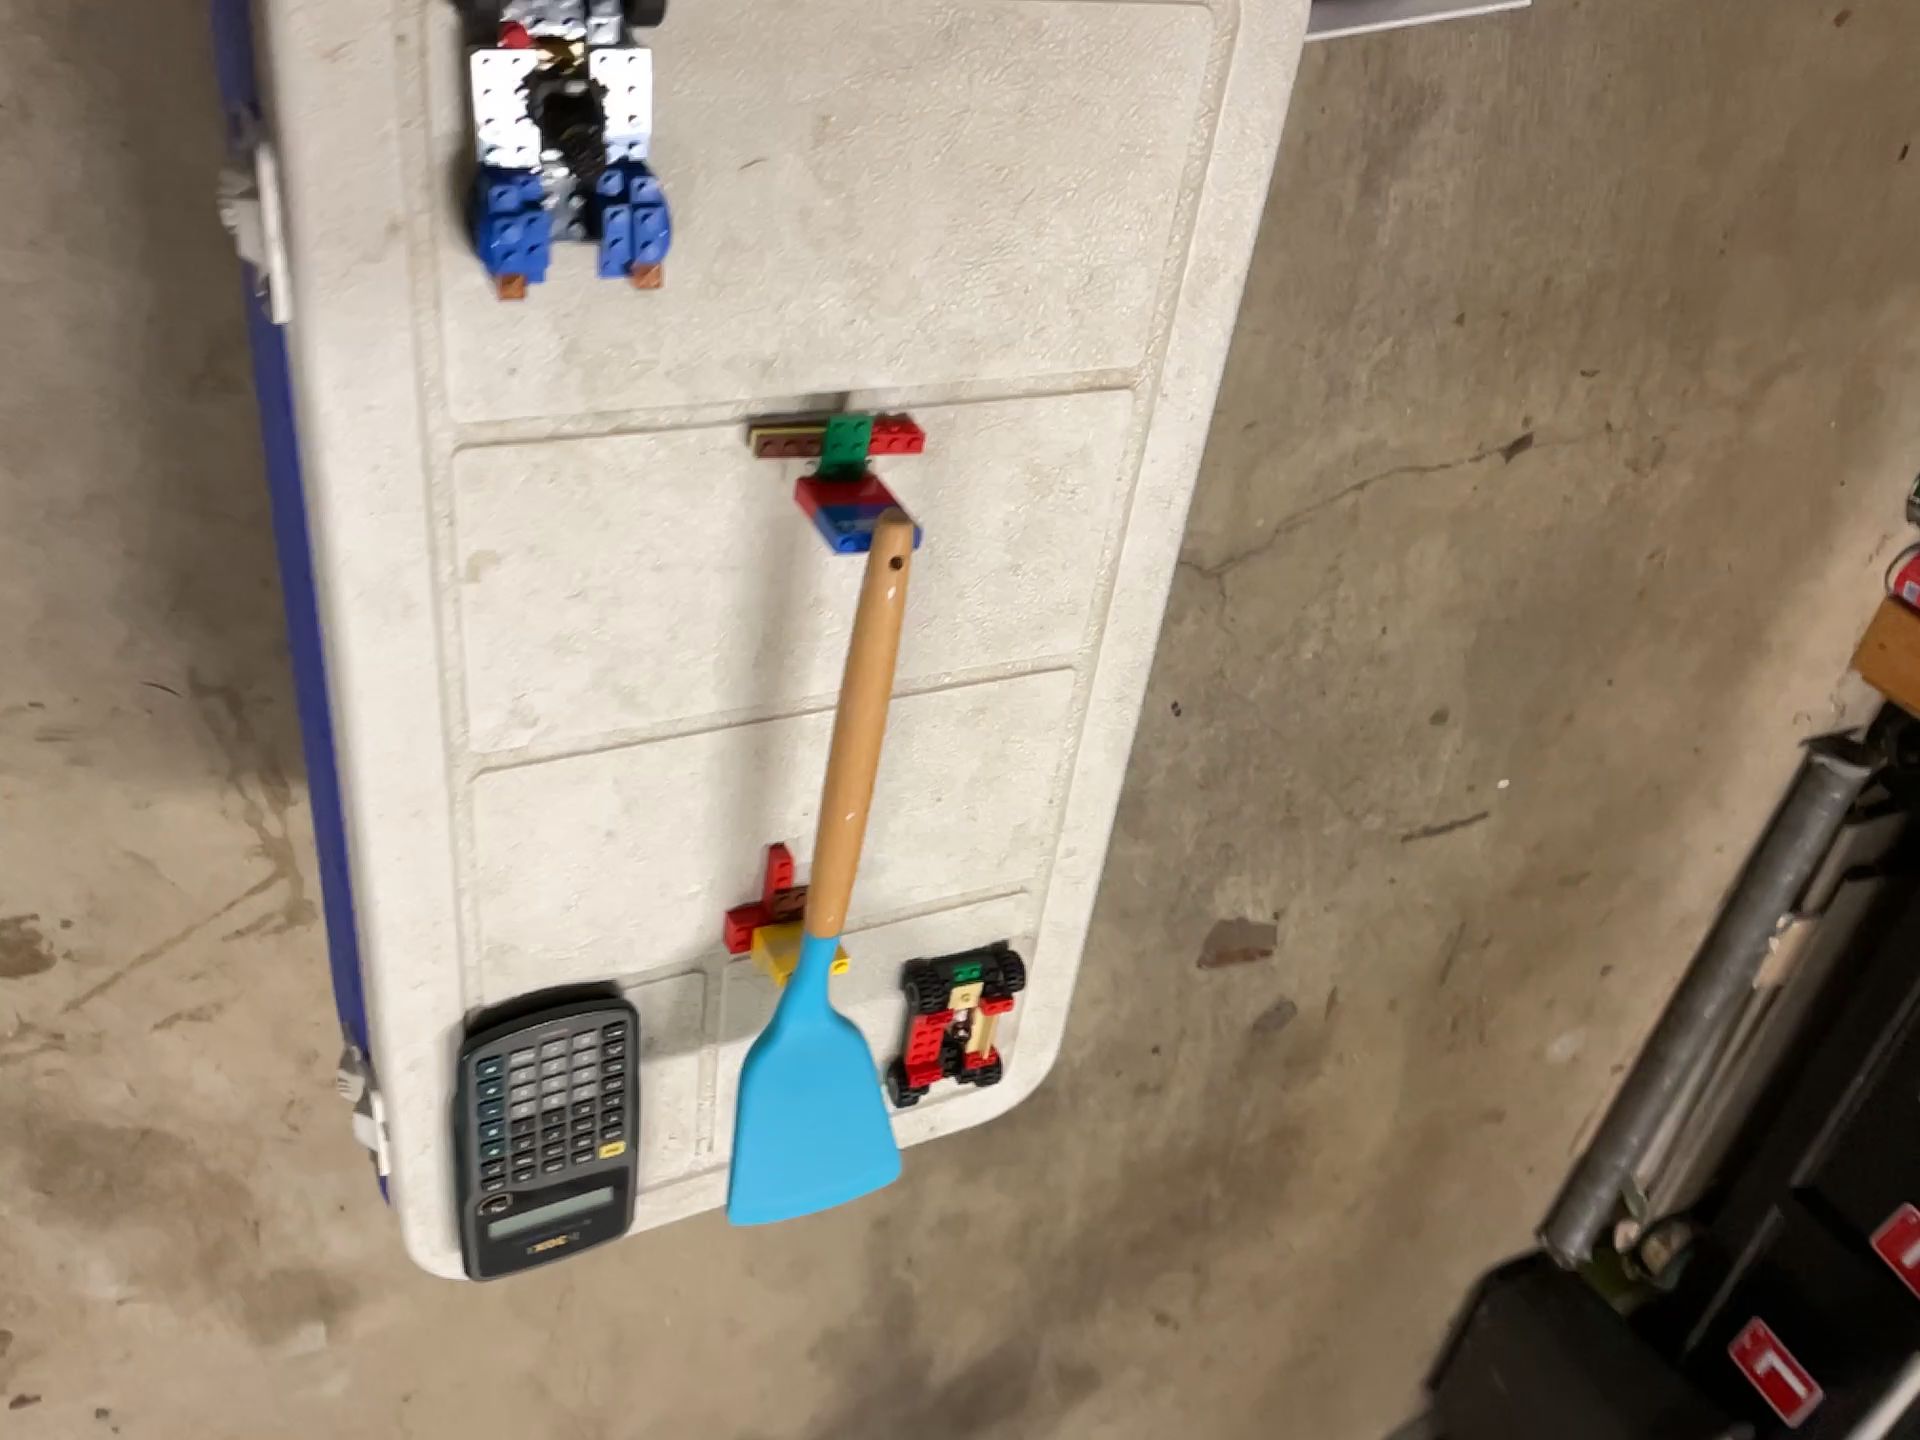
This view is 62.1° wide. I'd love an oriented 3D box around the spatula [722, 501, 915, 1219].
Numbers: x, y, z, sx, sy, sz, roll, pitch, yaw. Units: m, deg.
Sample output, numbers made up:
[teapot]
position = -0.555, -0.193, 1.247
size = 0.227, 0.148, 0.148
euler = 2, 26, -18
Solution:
[spatula]
position = -0.043, 0.064, 0.603
size = 0.082, 0.044, 0.317
euler = -7, 128, -25
